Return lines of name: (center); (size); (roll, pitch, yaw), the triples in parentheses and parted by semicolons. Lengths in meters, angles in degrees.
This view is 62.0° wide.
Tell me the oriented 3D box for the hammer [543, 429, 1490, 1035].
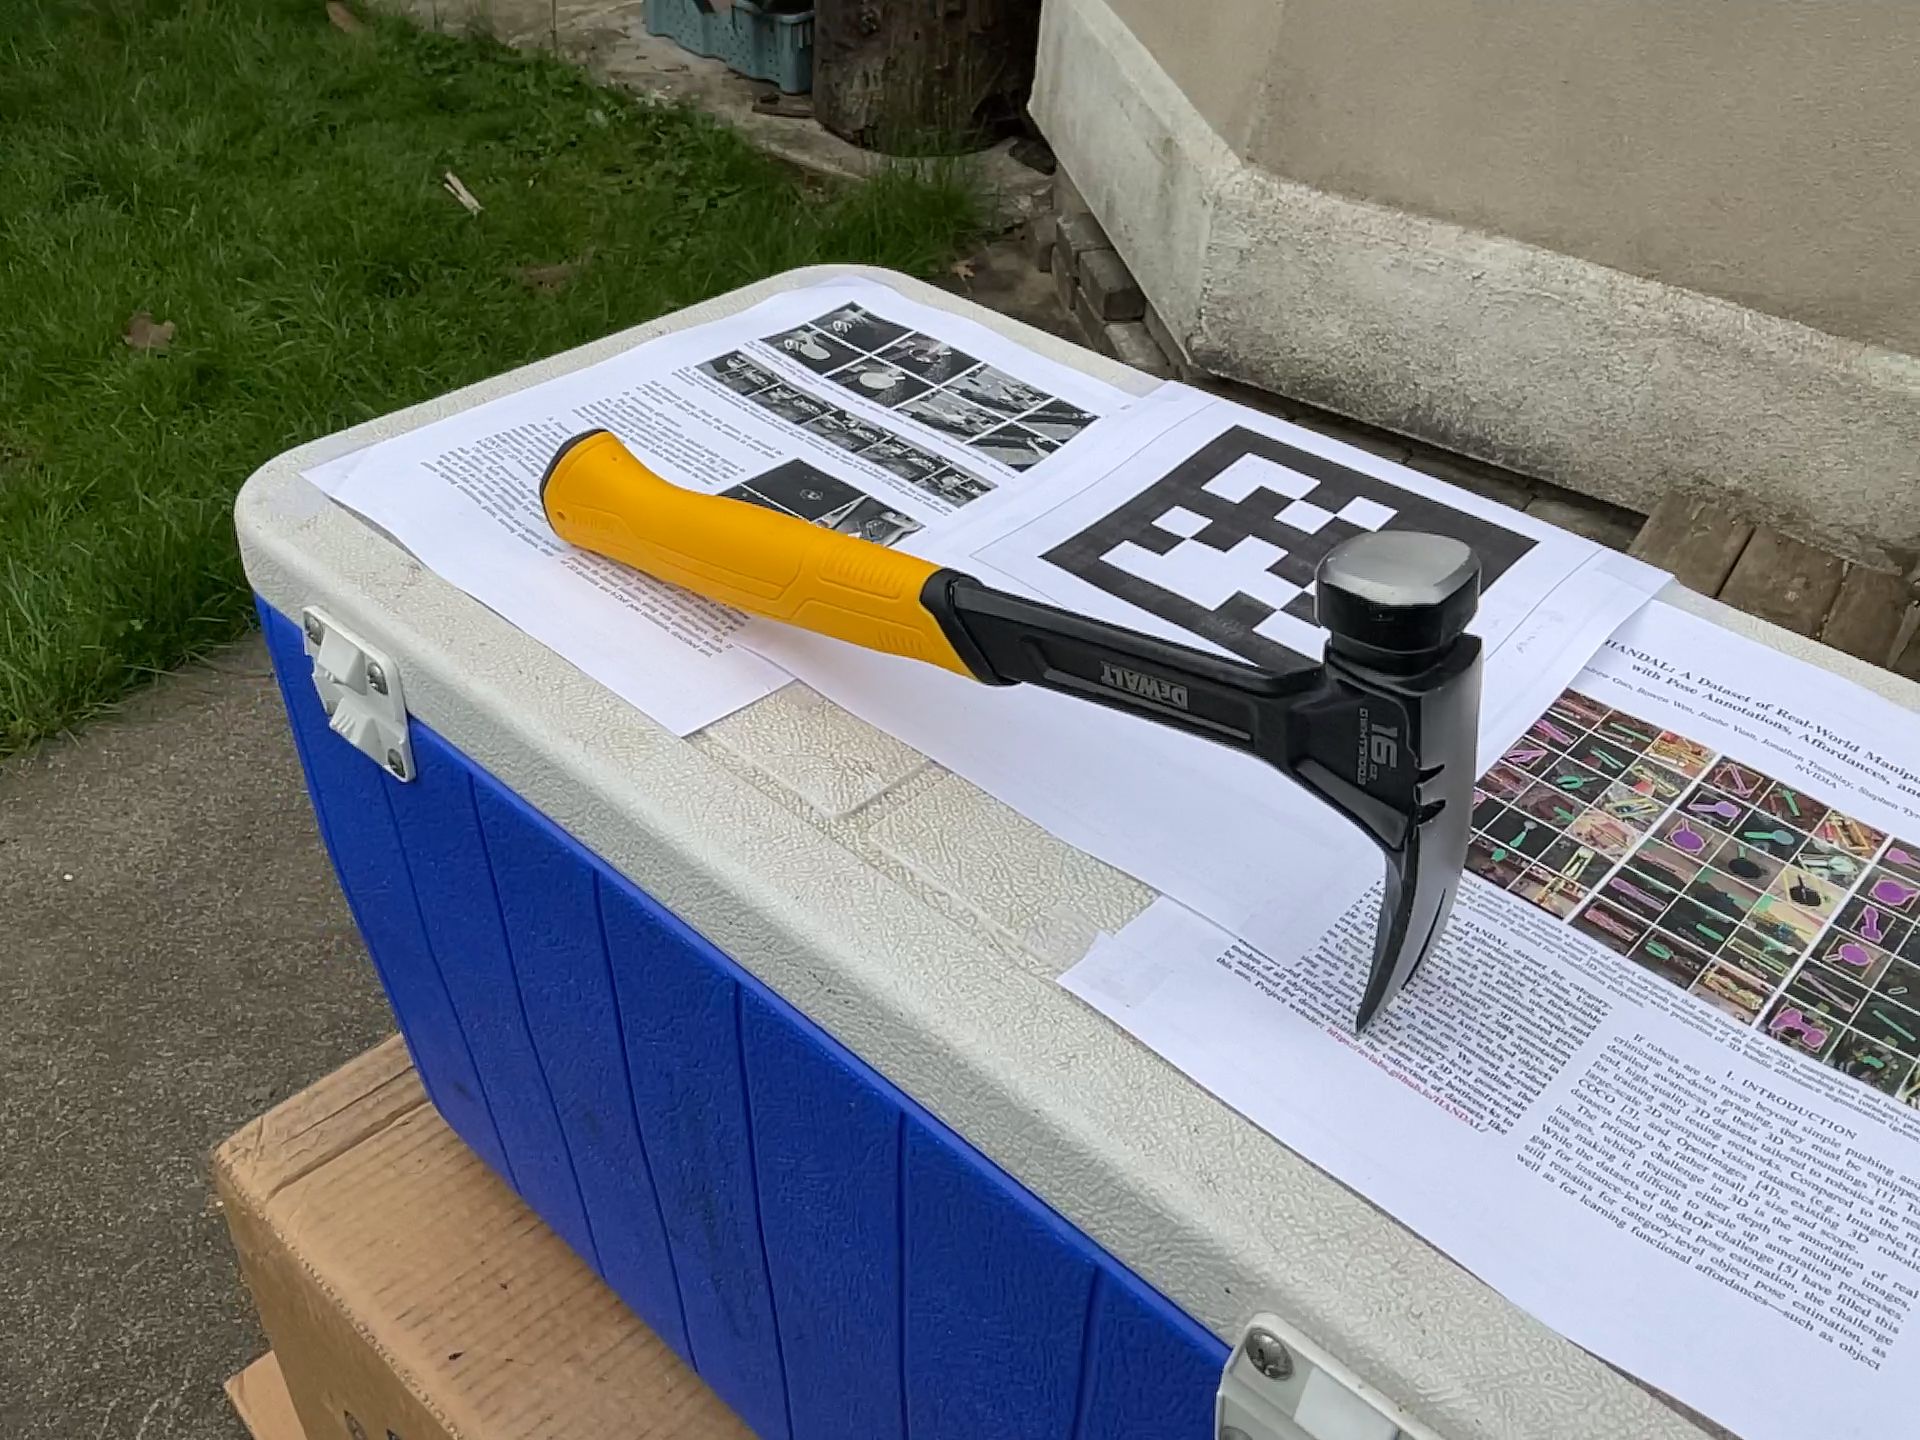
hammer: (-0.010, -0.026, 0.468); (0.337, 0.127, 0.034); (21, 41, 37)
